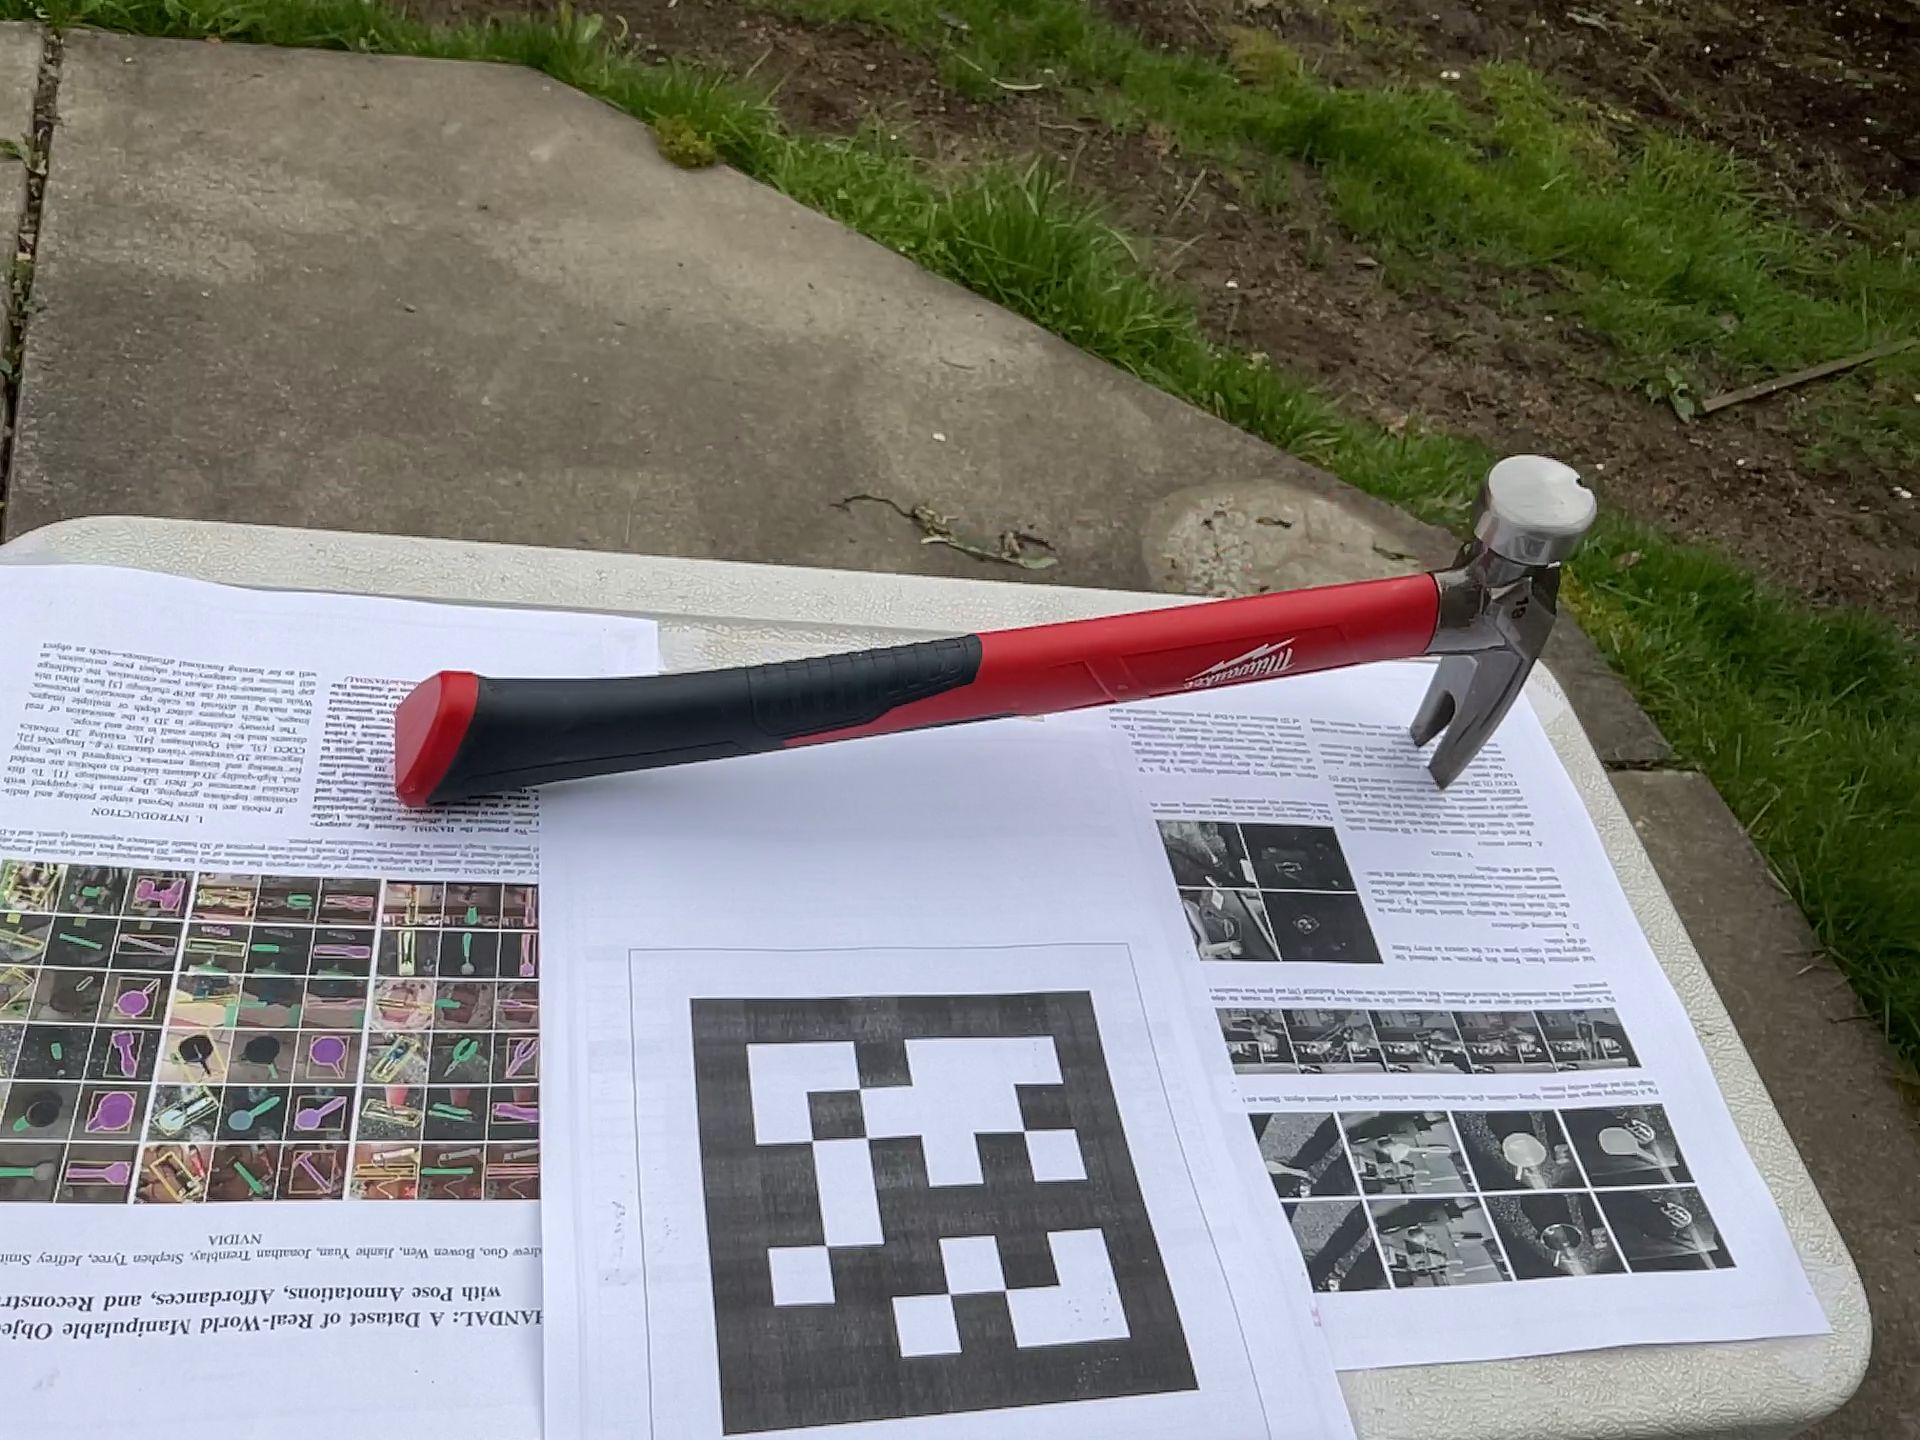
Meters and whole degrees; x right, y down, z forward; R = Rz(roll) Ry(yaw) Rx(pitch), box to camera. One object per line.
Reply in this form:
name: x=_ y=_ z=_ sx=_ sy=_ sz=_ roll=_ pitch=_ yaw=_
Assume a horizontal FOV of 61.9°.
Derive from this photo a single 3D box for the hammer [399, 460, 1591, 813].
hammer: x=0.014 y=-0.004 z=0.542 sx=0.386 sy=0.143 sz=0.038 roll=-8 pitch=51 yaw=-11
